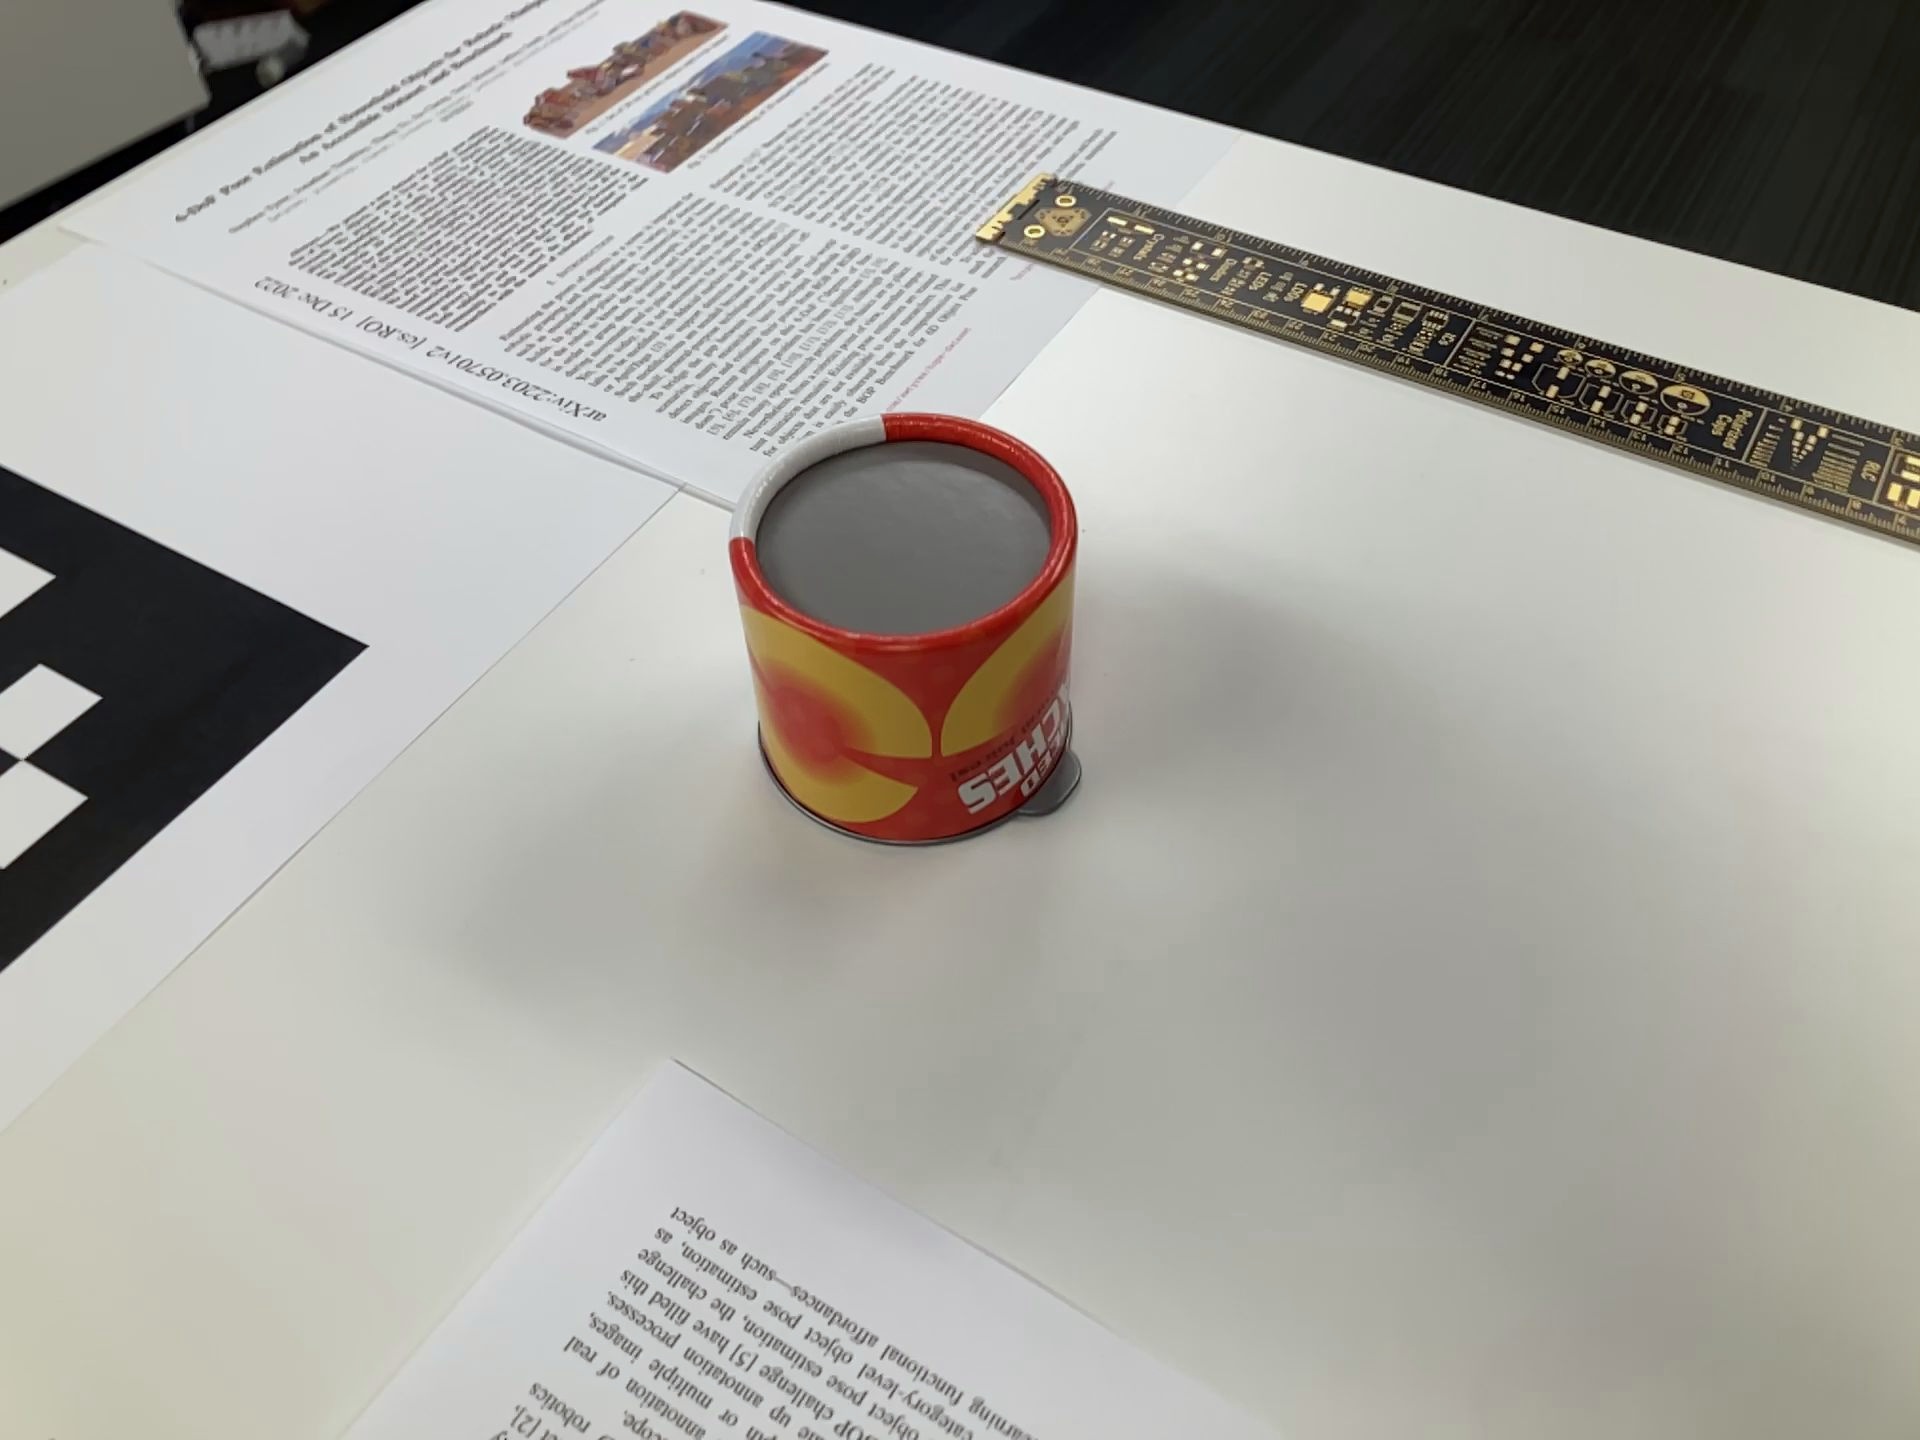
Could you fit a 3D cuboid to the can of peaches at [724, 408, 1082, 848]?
[{"bbox_3d":[-0.008,-0.018,0.309,0.071,0.058,0.071,-1,48,1],"label":"can of peaches"}]
